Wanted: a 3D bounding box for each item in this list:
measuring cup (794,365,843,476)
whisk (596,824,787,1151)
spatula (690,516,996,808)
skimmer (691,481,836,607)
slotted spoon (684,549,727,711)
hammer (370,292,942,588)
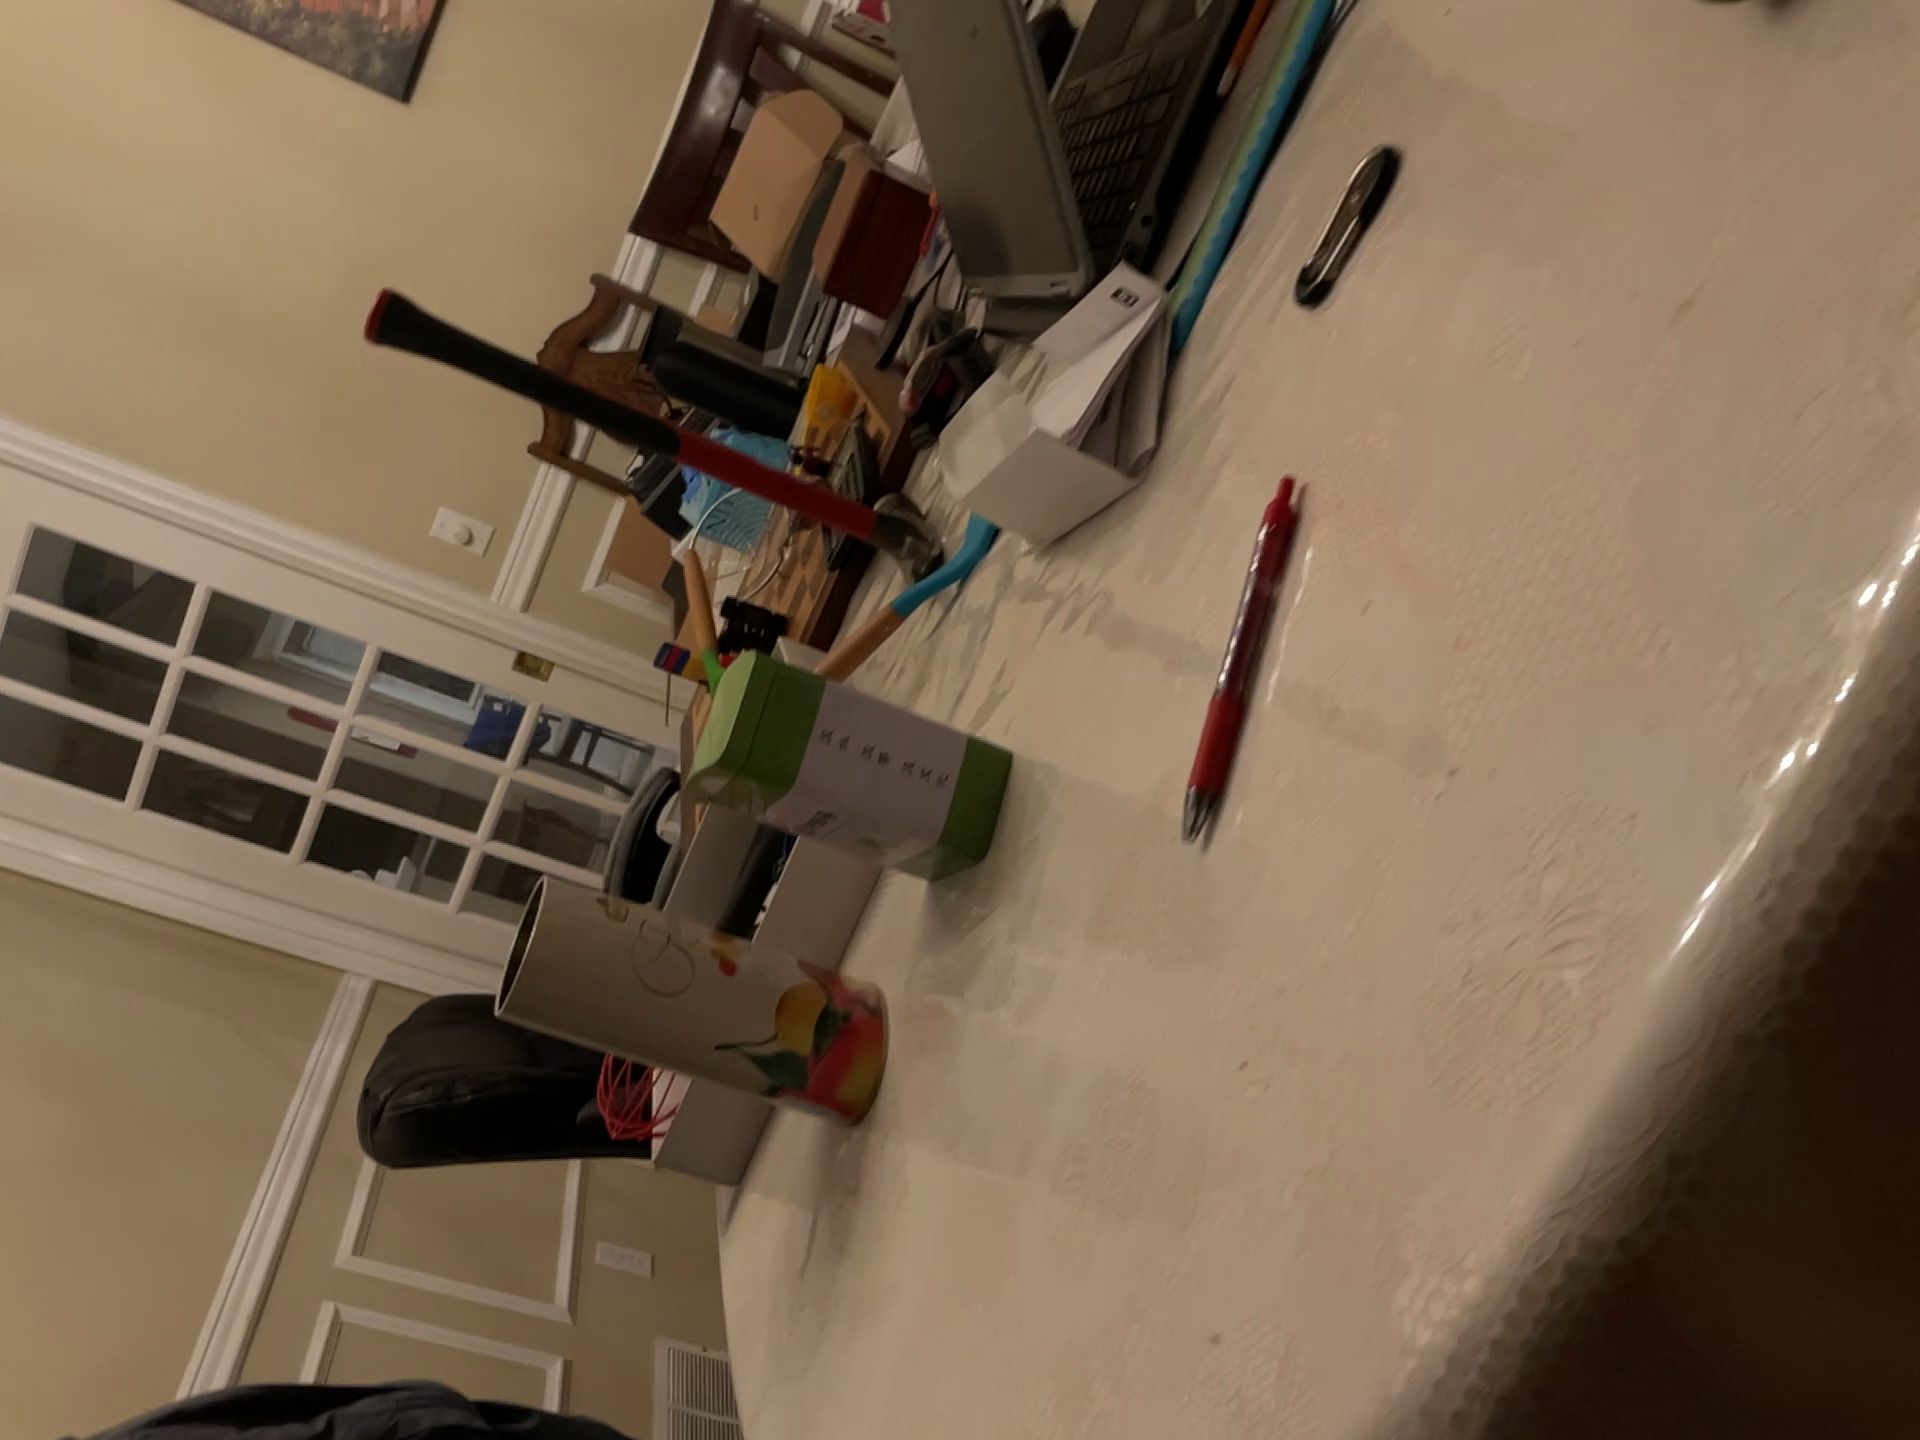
[{"bbox_3d":[-0.143,-0.268,1.561,0.062,0.029,0.156,-121,42,-66],"label":"measuring cup"},{"bbox_3d":[-0.160,0.161,1.045,0.073,0.073,0.296,-33,20,34],"label":"whisk"},{"bbox_3d":[-0.064,-0.058,0.991,0.317,0.044,0.082,-43,24,12],"label":"spatula"},{"bbox_3d":[-0.180,-0.175,1.413,0.363,0.090,0.127,166,126,-75],"label":"skimmer"},{"bbox_3d":[-0.214,-0.070,1.347,0.070,0.031,0.314,-63,26,25],"label":"slotted spoon"},{"bbox_3d":[-0.192,-0.181,1.041,0.038,0.386,0.143,-64,17,17],"label":"hammer"}]
